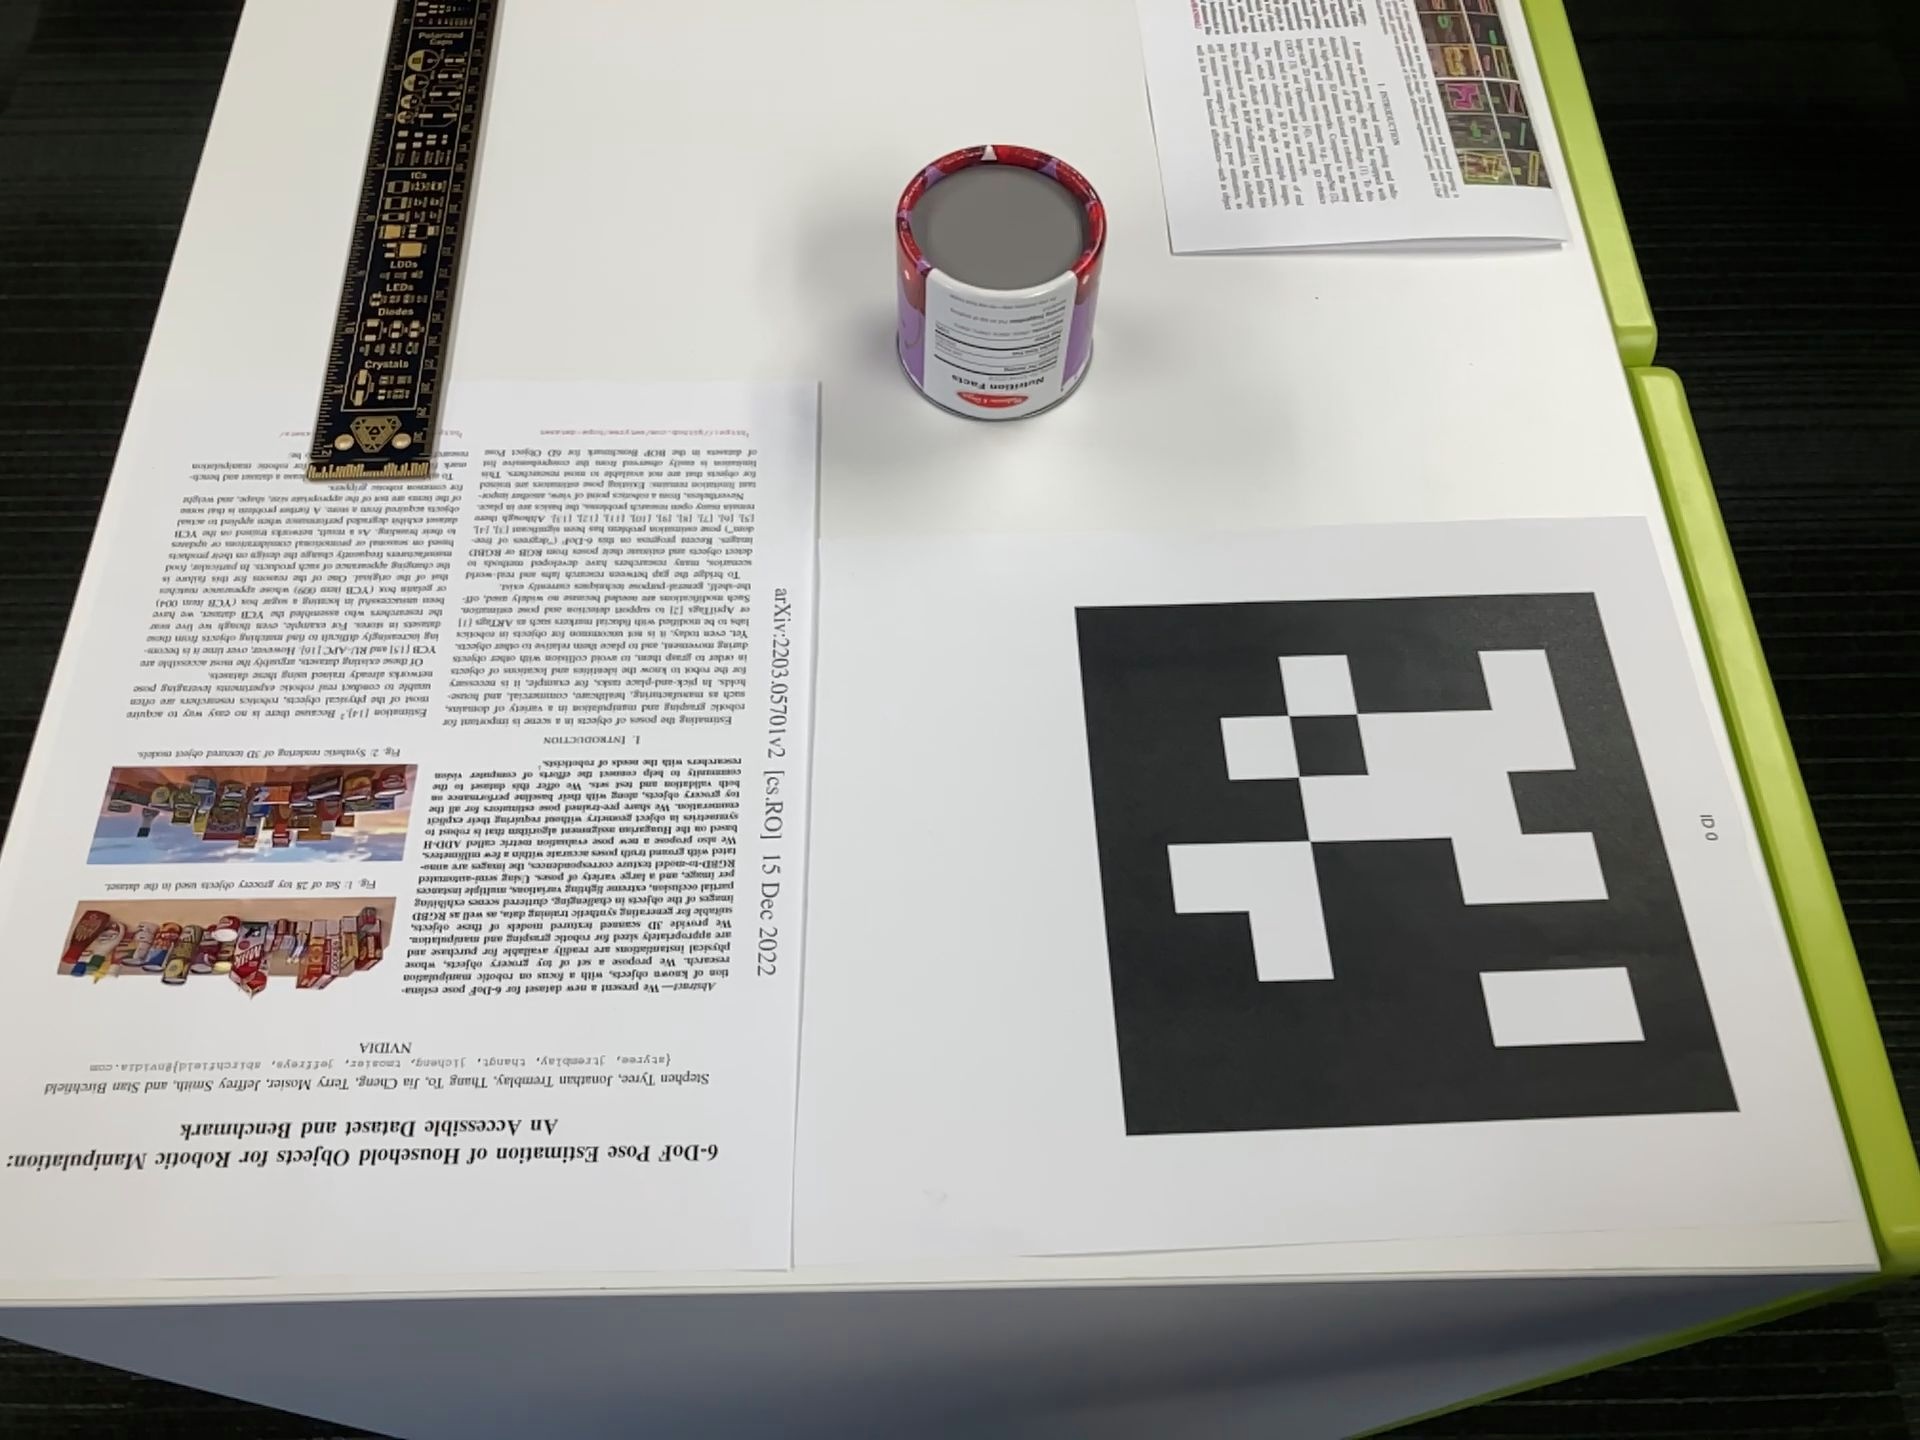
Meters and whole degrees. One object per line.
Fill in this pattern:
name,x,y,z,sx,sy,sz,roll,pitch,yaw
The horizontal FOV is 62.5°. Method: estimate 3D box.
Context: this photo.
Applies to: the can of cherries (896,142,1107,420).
can of cherries,0.012,-0.143,0.510,0.071,0.058,0.071,0,61,0
